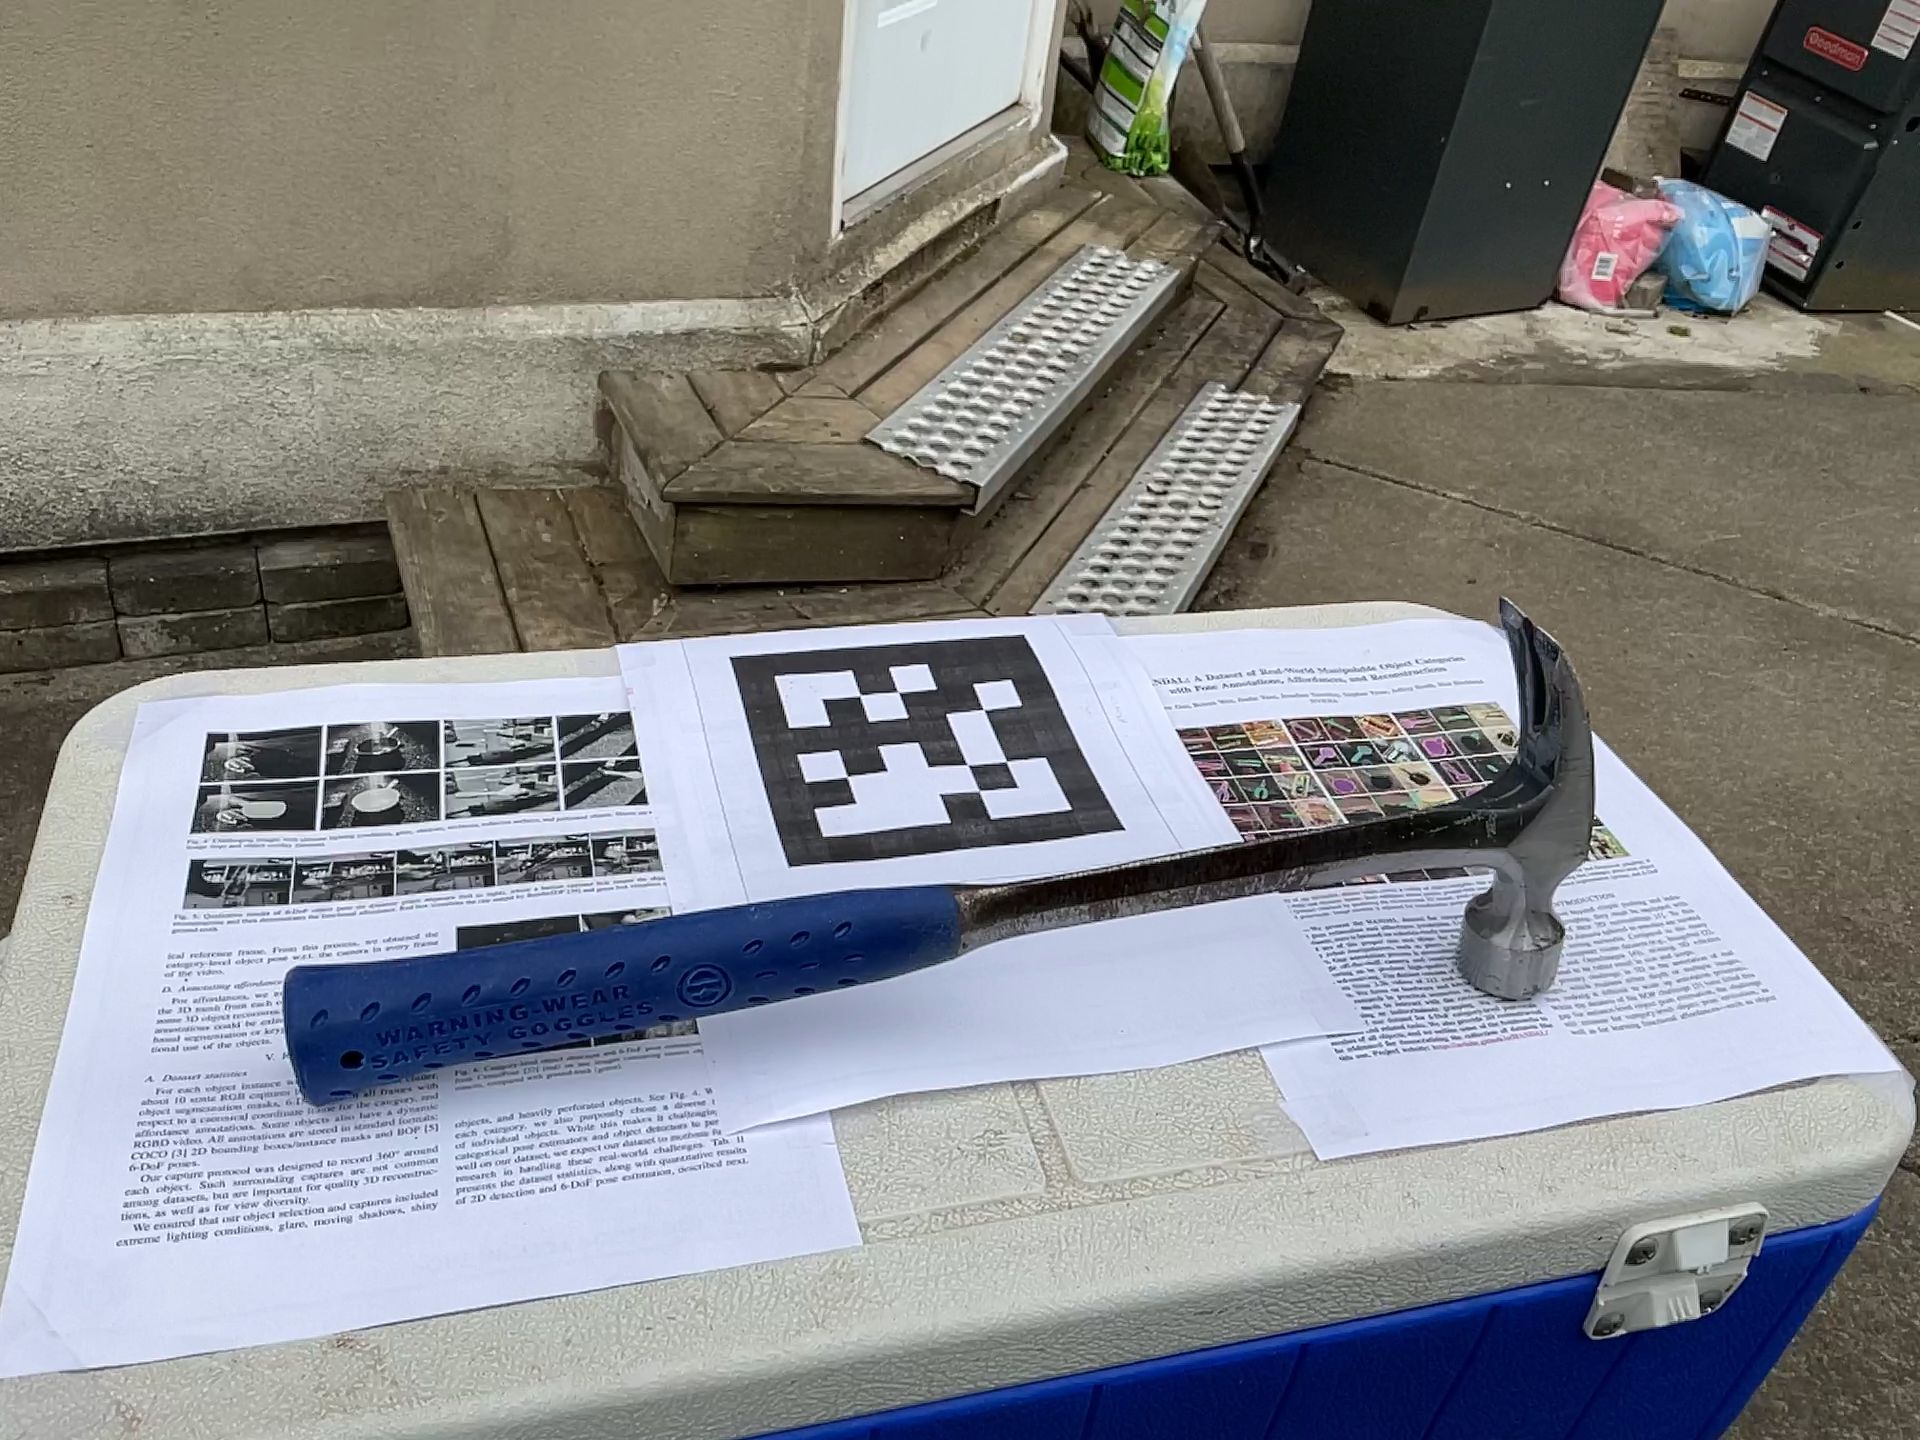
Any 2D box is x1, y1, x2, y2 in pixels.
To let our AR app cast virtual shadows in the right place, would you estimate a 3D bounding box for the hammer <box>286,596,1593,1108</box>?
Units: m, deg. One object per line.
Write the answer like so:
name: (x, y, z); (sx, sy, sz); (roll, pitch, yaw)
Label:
hammer: (0.008, 0.055, 0.491); (0.405, 0.144, 0.035); (-9, 32, -10)
